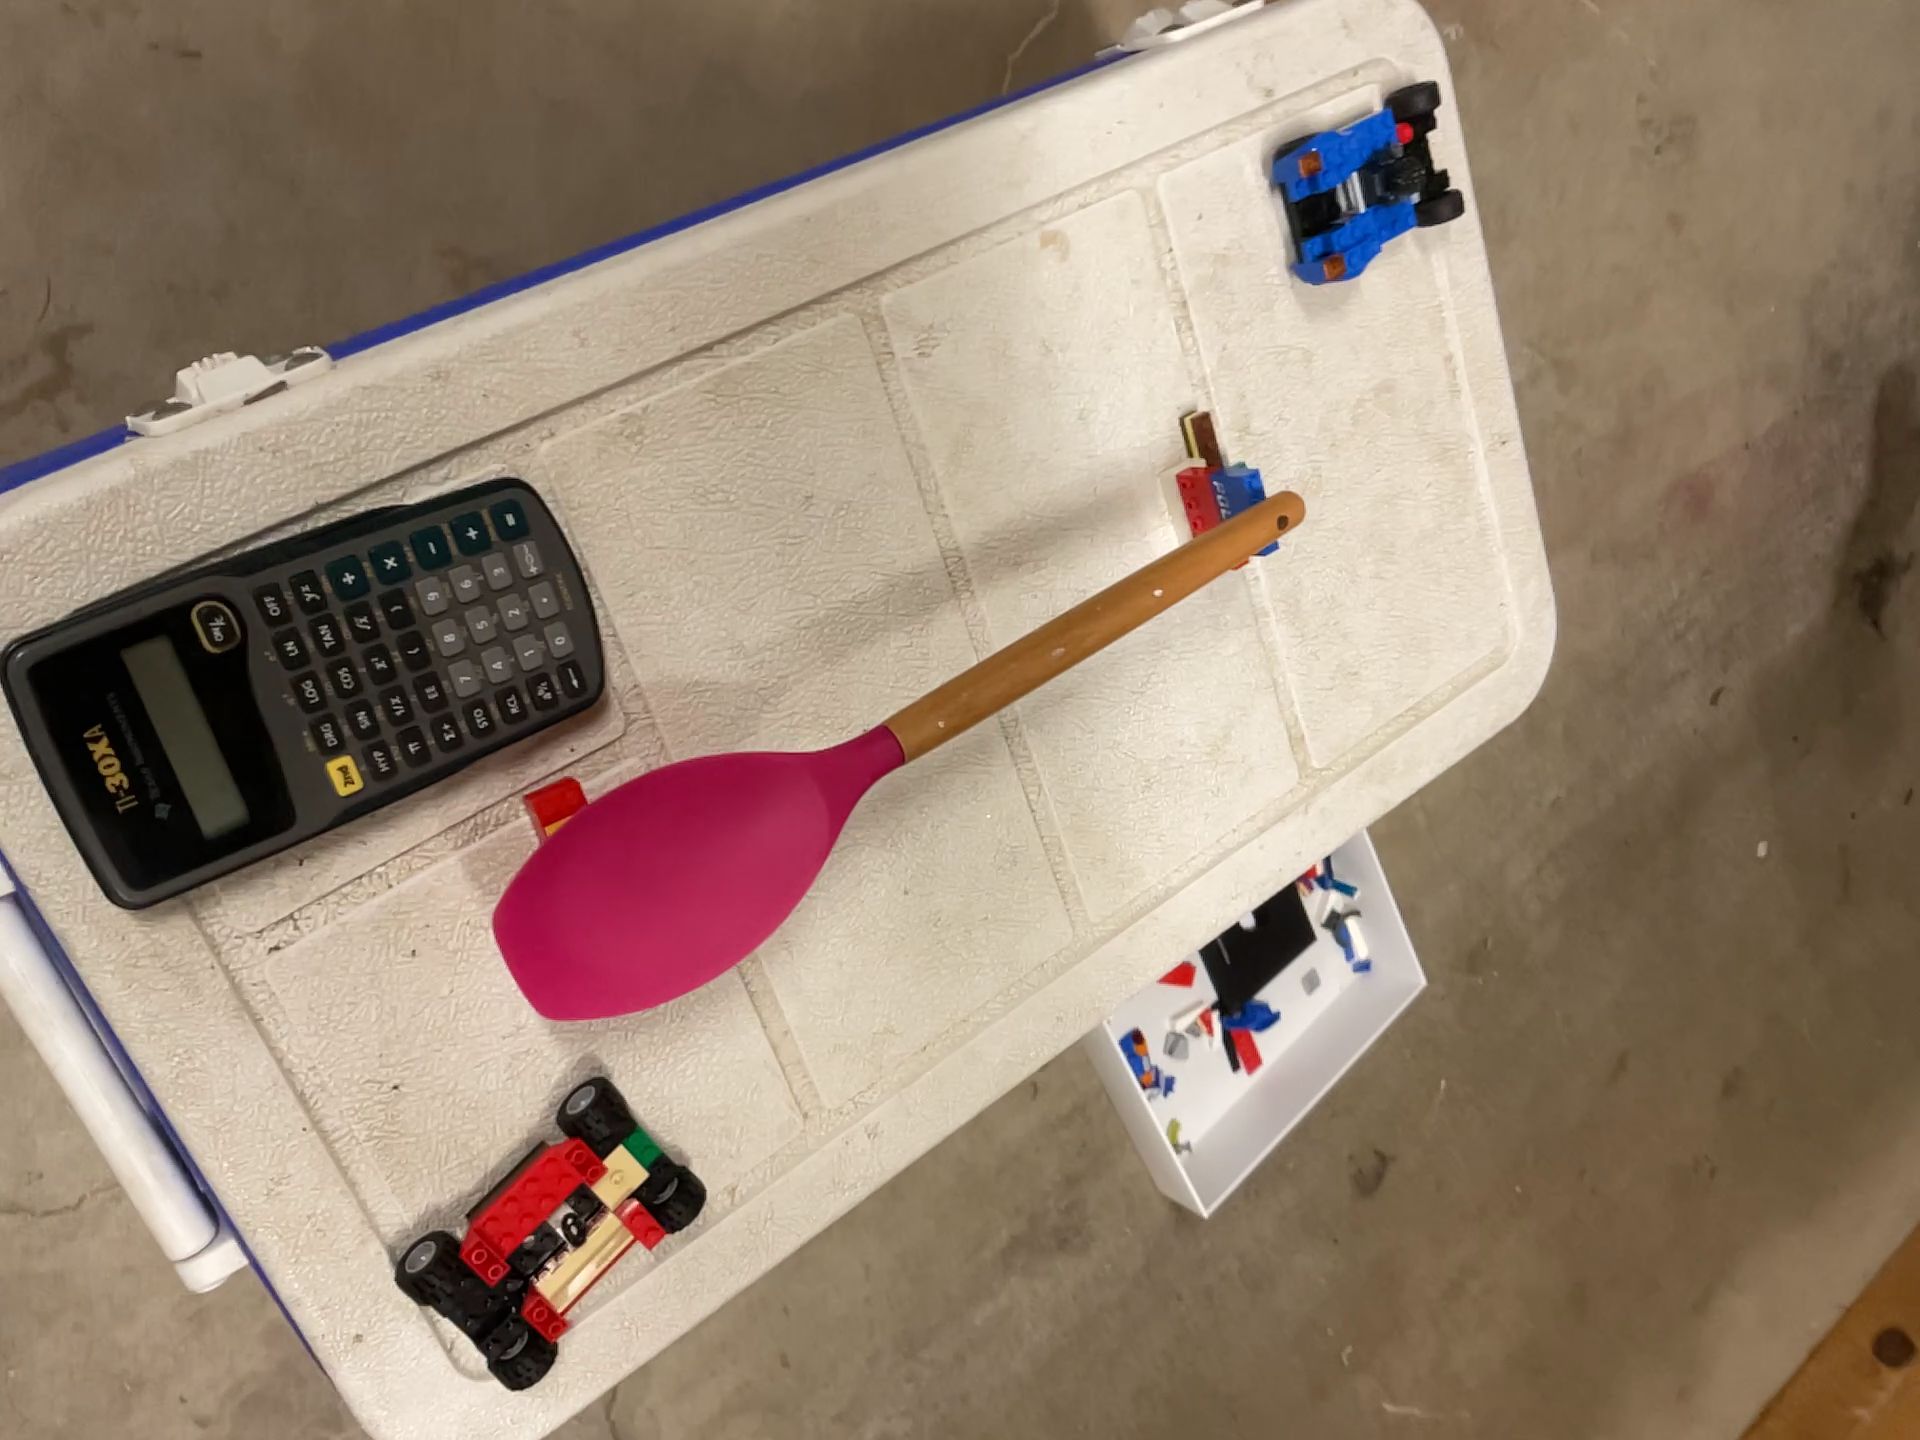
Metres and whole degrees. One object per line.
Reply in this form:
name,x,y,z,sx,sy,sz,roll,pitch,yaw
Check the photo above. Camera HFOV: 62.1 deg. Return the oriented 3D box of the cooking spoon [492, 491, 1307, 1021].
cooking spoon,-0.002,-0.004,0.515,0.319,0.017,0.068,-31,114,-24
